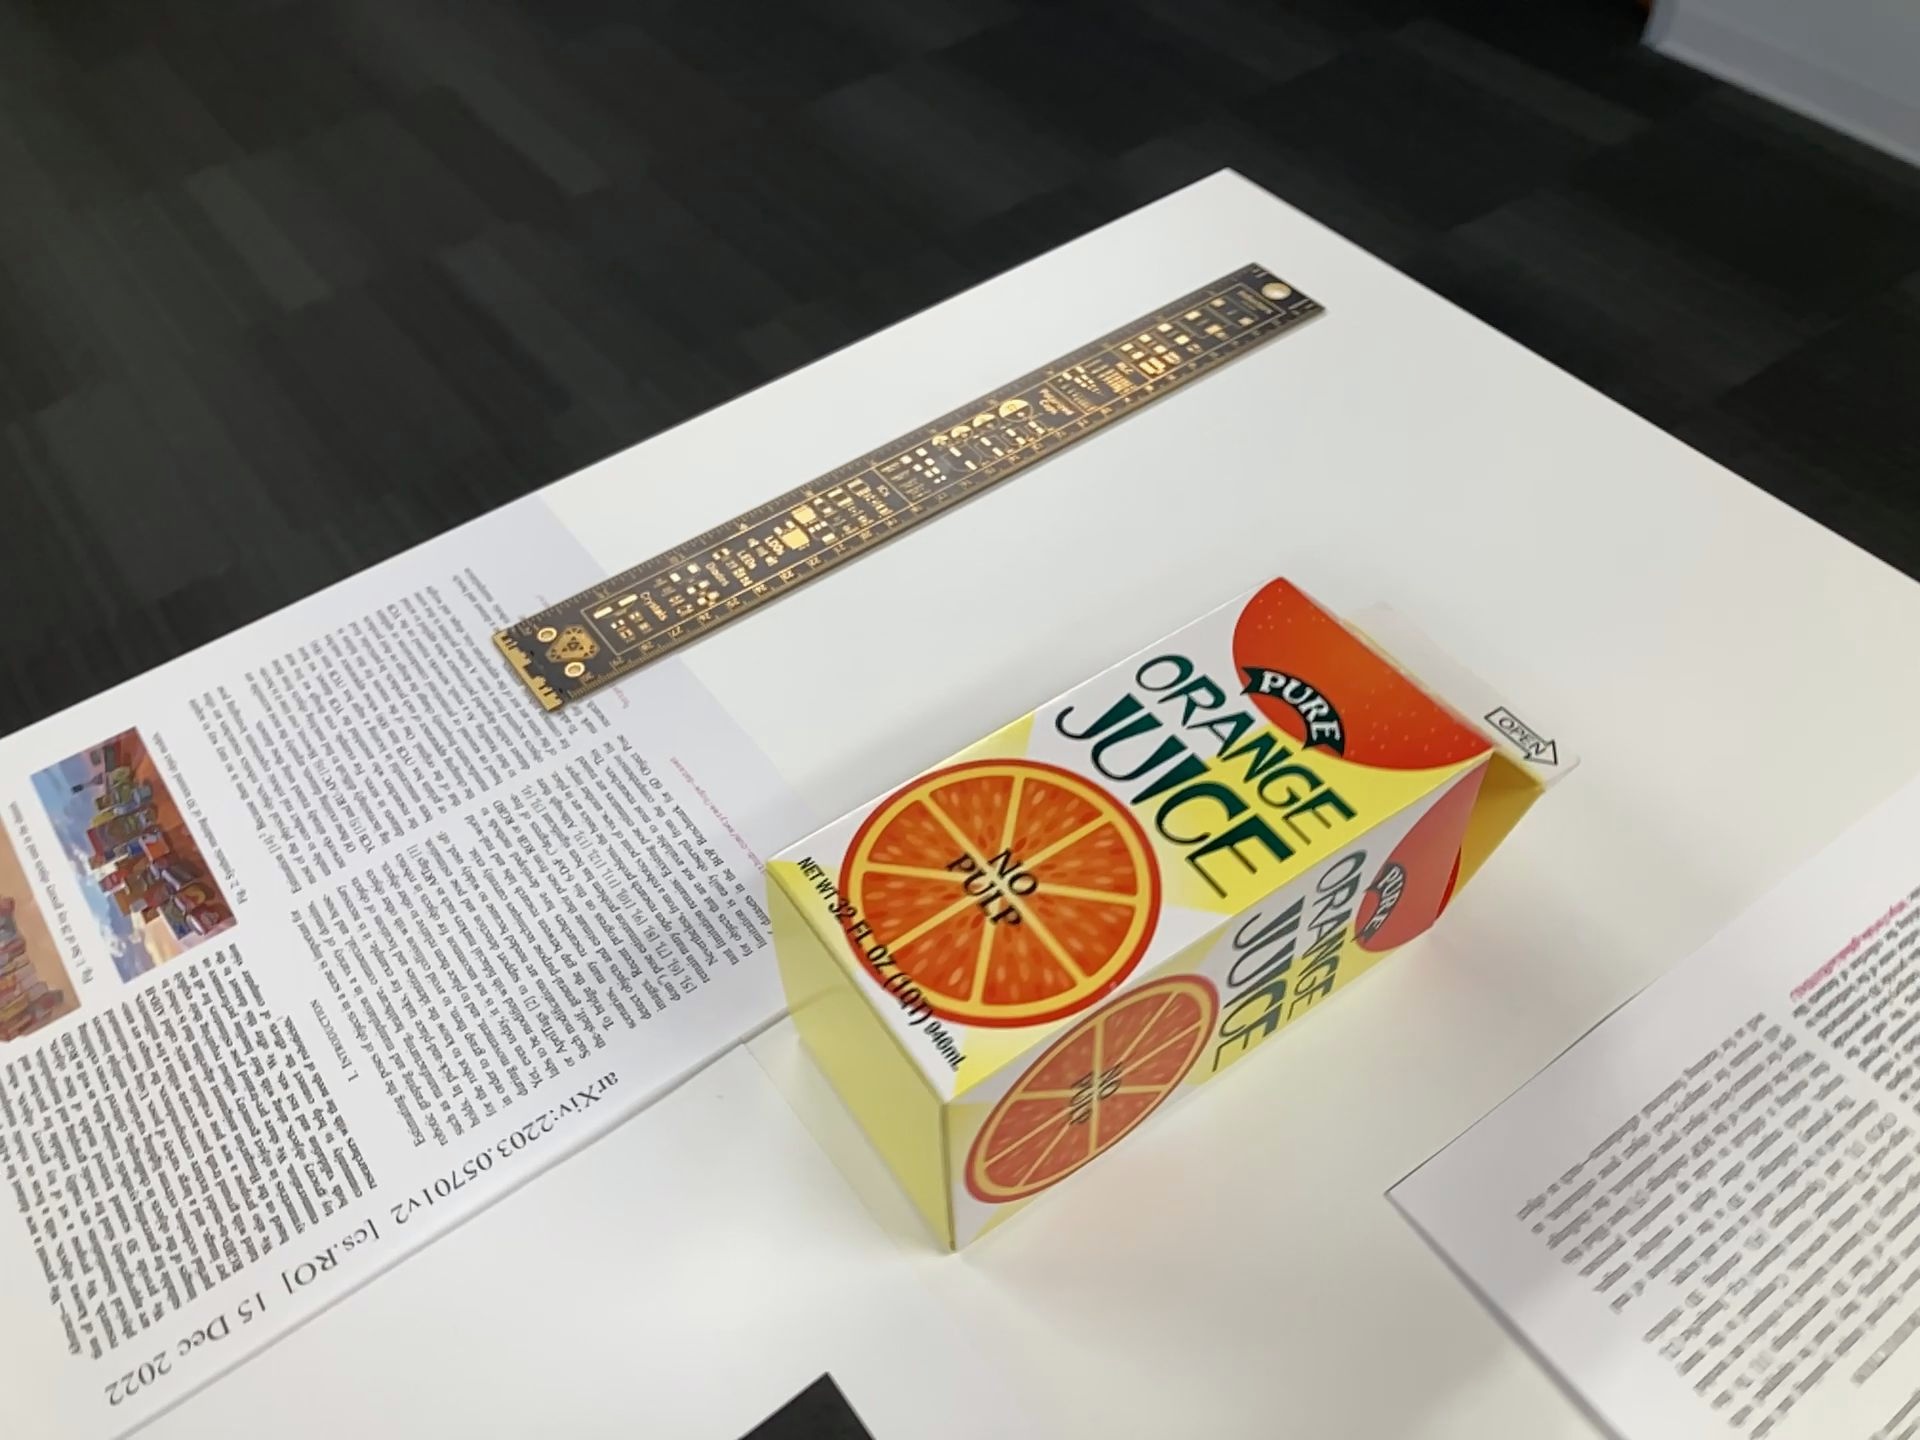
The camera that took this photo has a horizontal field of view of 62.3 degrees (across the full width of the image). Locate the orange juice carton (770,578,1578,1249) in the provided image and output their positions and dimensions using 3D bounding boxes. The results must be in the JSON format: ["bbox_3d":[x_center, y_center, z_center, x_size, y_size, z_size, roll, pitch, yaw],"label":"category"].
[{"bbox_3d":[0.056,0.033,0.384,0.192,0.073,0.072,-29,53,-20],"label":"orange juice carton"}]
